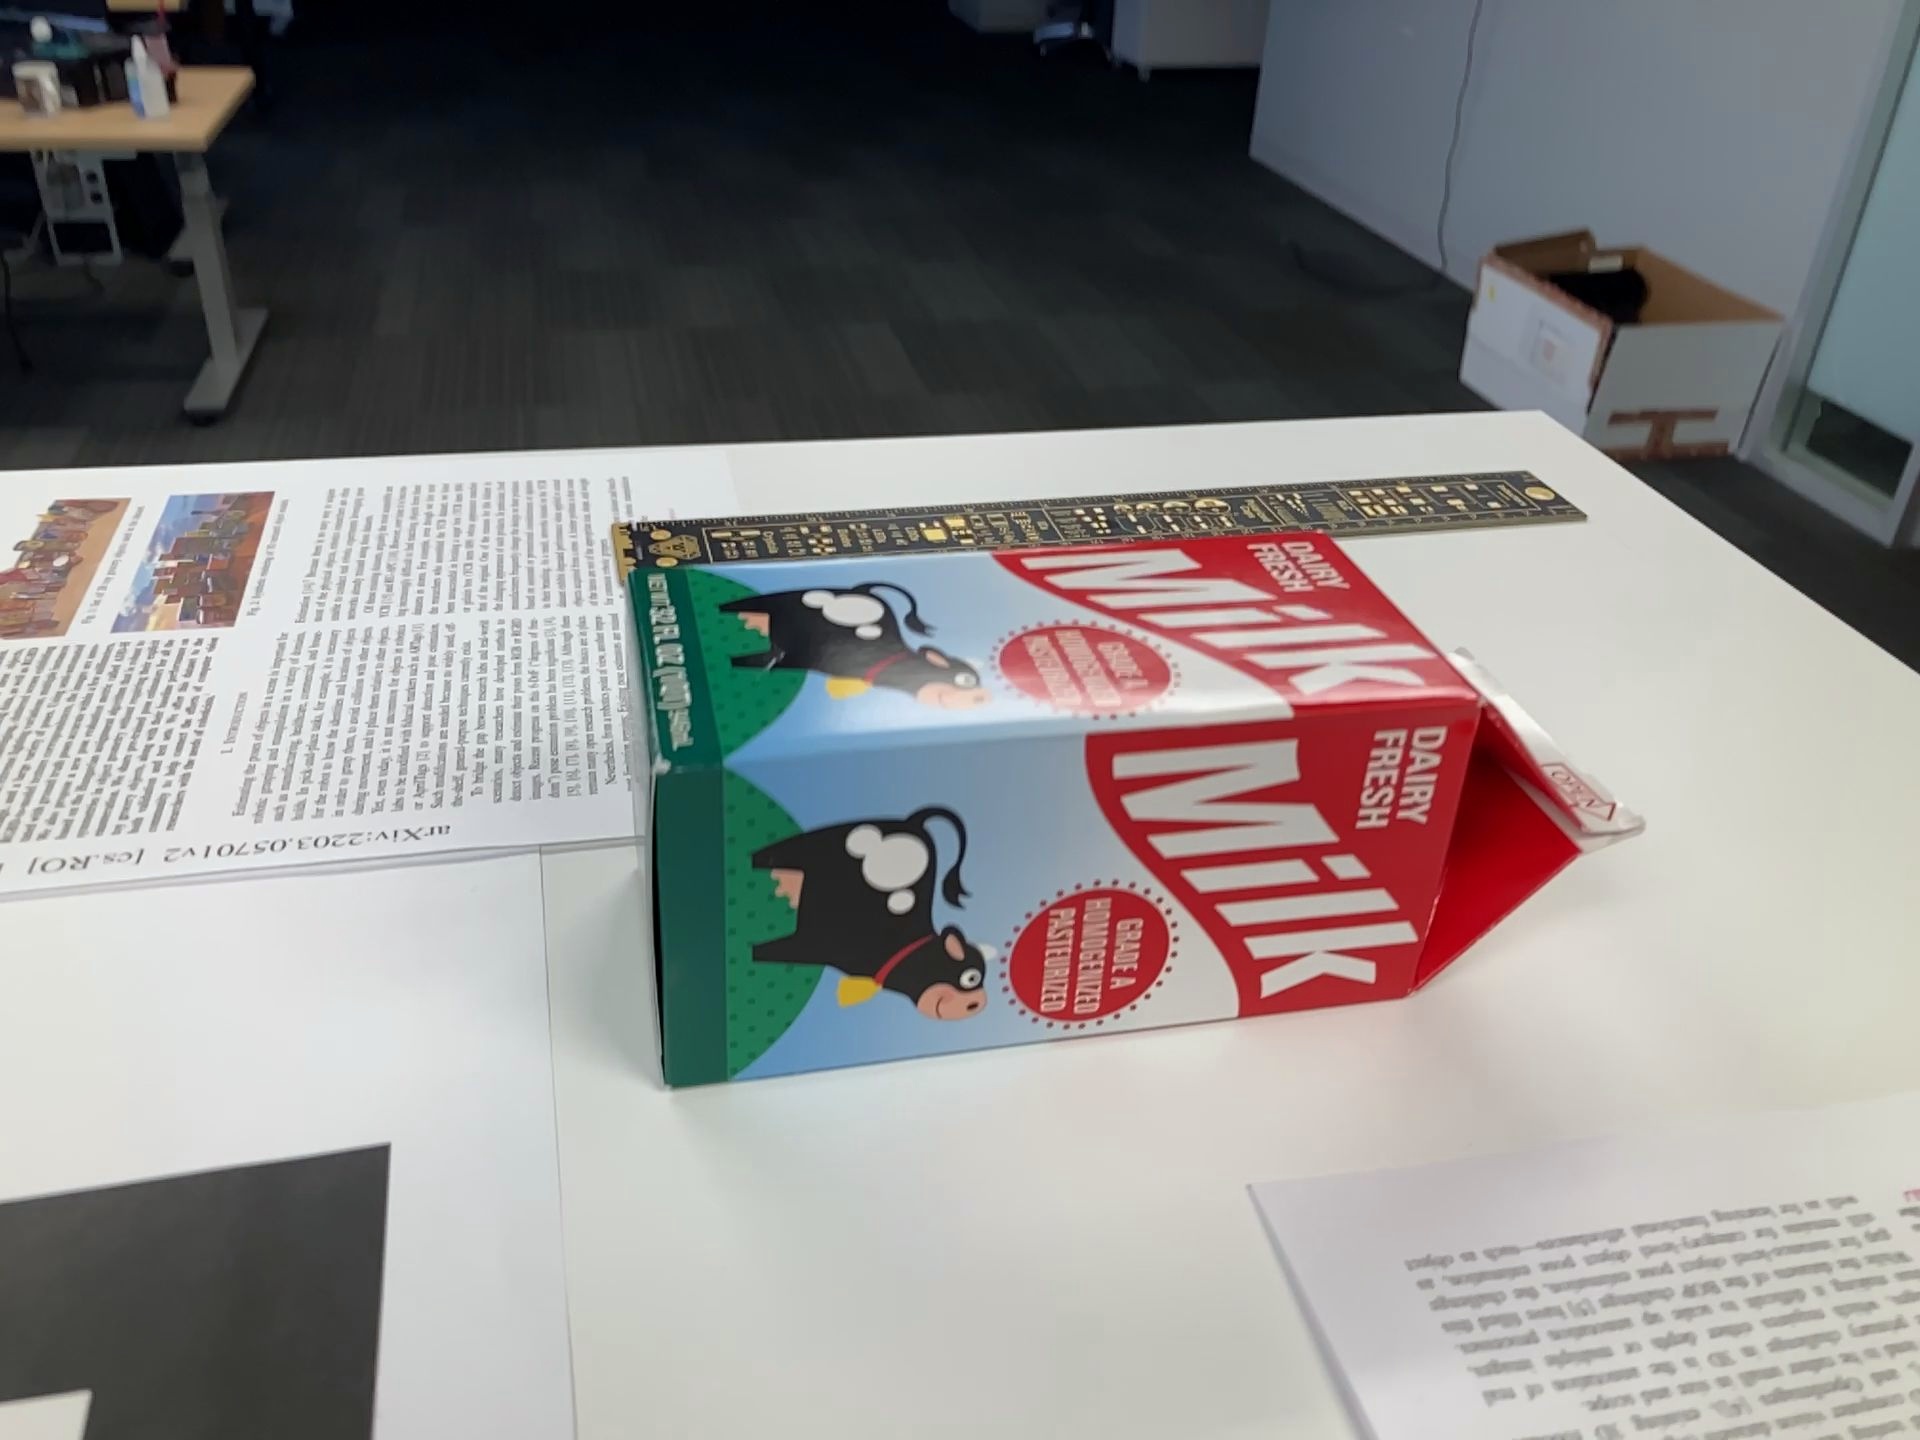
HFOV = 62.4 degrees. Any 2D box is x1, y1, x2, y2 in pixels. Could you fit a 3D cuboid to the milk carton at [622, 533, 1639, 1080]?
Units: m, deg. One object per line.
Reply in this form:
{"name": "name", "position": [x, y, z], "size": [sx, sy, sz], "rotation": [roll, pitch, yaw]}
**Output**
{"name": "milk carton", "position": [0.032, 0.011, 0.317], "size": [0.190, 0.073, 0.072], "rotation": [-4, 32, -14]}
